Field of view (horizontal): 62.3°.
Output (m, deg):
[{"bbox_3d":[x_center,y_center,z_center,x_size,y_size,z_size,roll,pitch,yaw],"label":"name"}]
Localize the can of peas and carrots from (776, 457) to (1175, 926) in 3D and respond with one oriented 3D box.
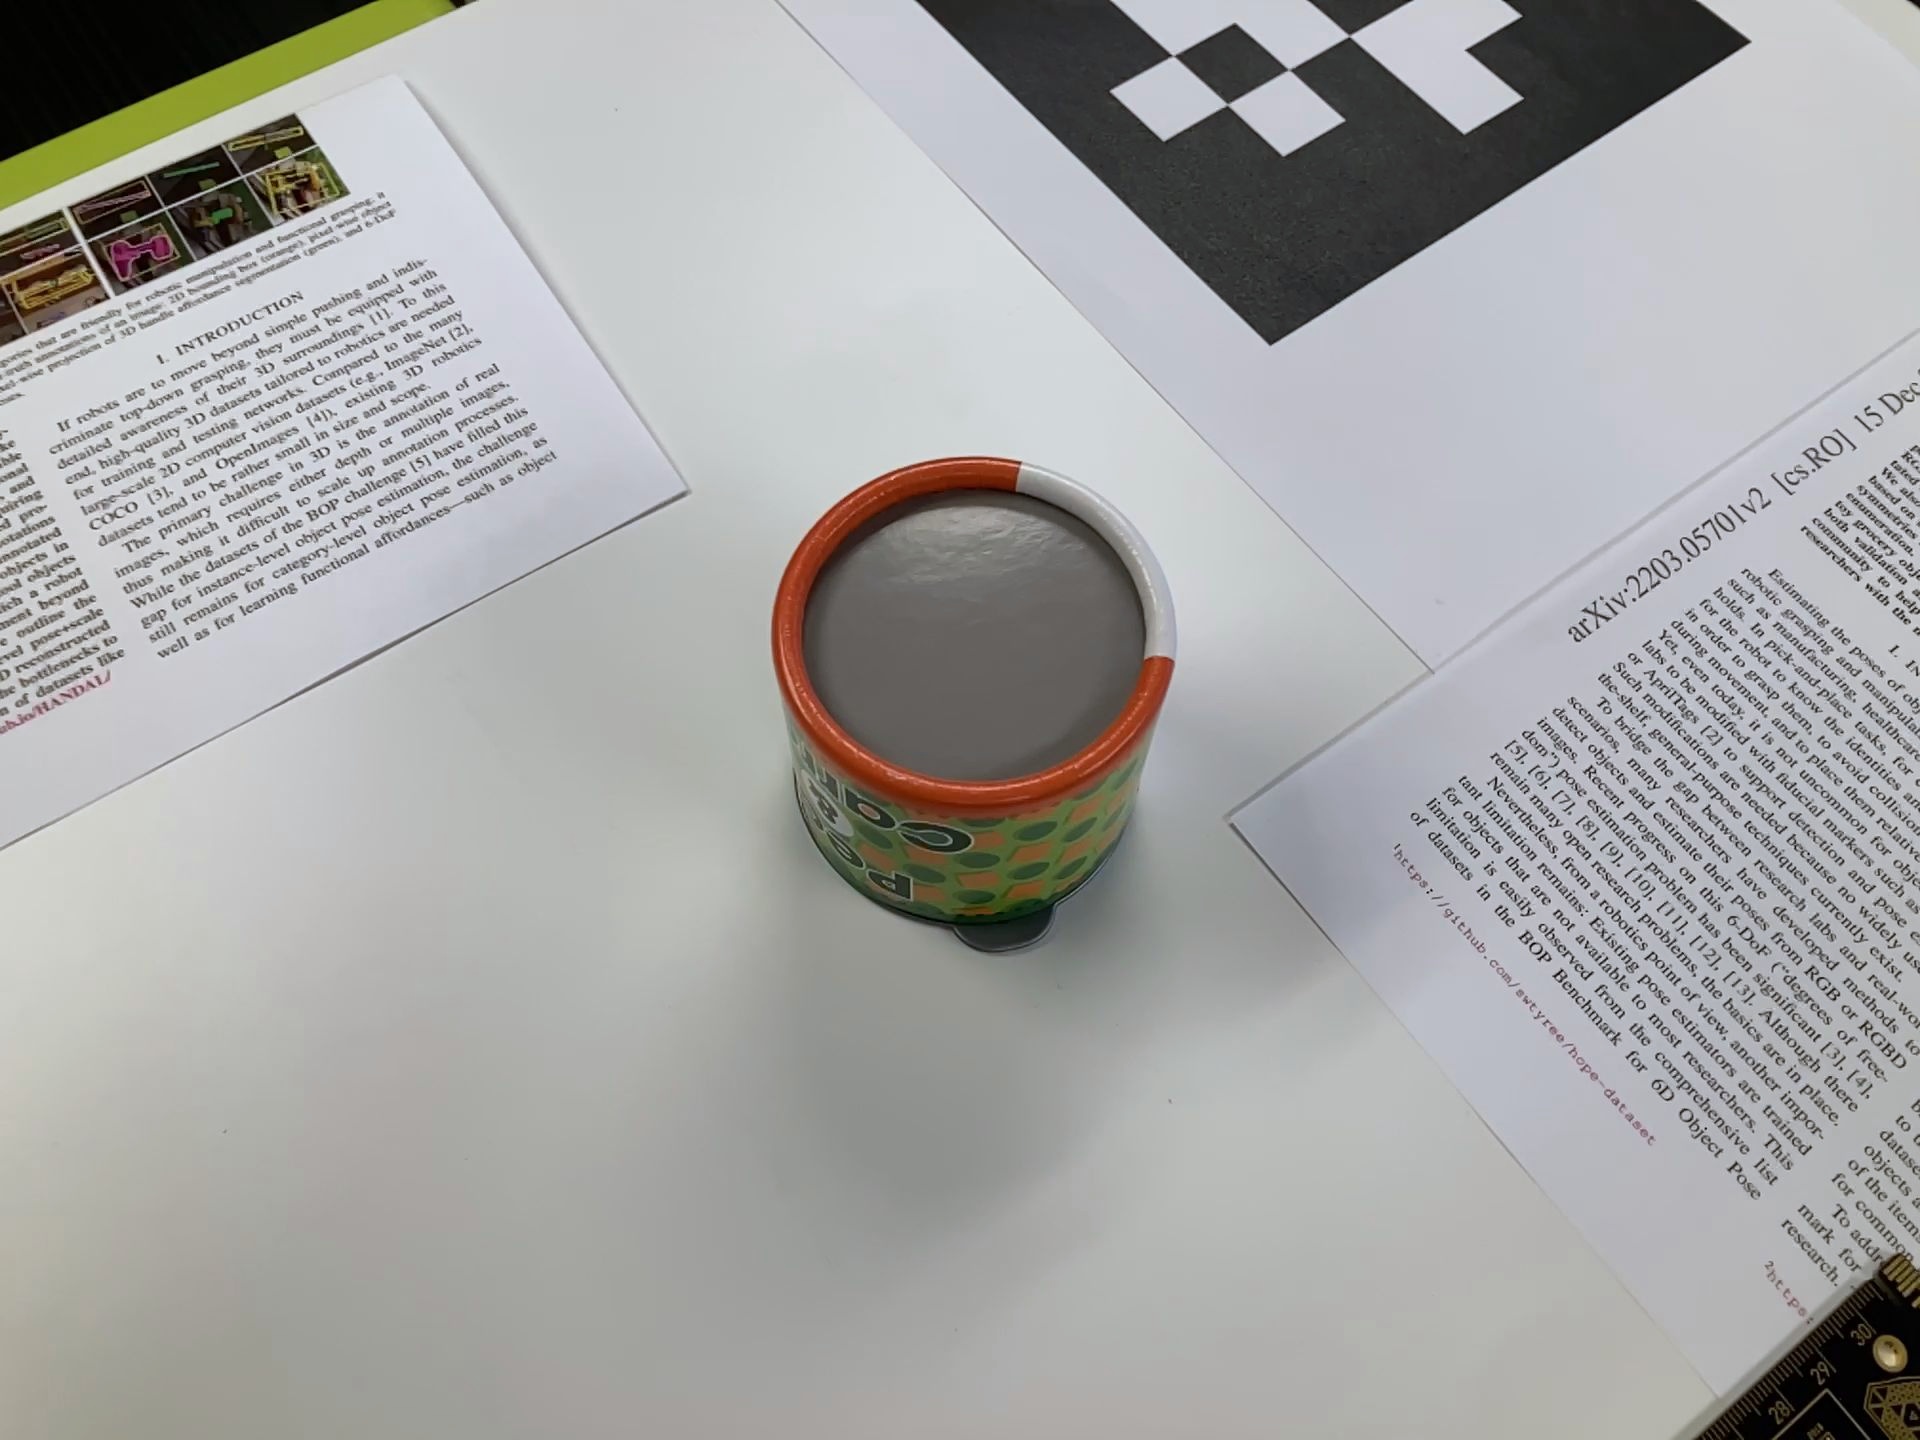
[{"bbox_3d":[0.000,-0.003,0.282,0.071,0.059,0.071,0,64,0],"label":"can of peas and carrots"}]
